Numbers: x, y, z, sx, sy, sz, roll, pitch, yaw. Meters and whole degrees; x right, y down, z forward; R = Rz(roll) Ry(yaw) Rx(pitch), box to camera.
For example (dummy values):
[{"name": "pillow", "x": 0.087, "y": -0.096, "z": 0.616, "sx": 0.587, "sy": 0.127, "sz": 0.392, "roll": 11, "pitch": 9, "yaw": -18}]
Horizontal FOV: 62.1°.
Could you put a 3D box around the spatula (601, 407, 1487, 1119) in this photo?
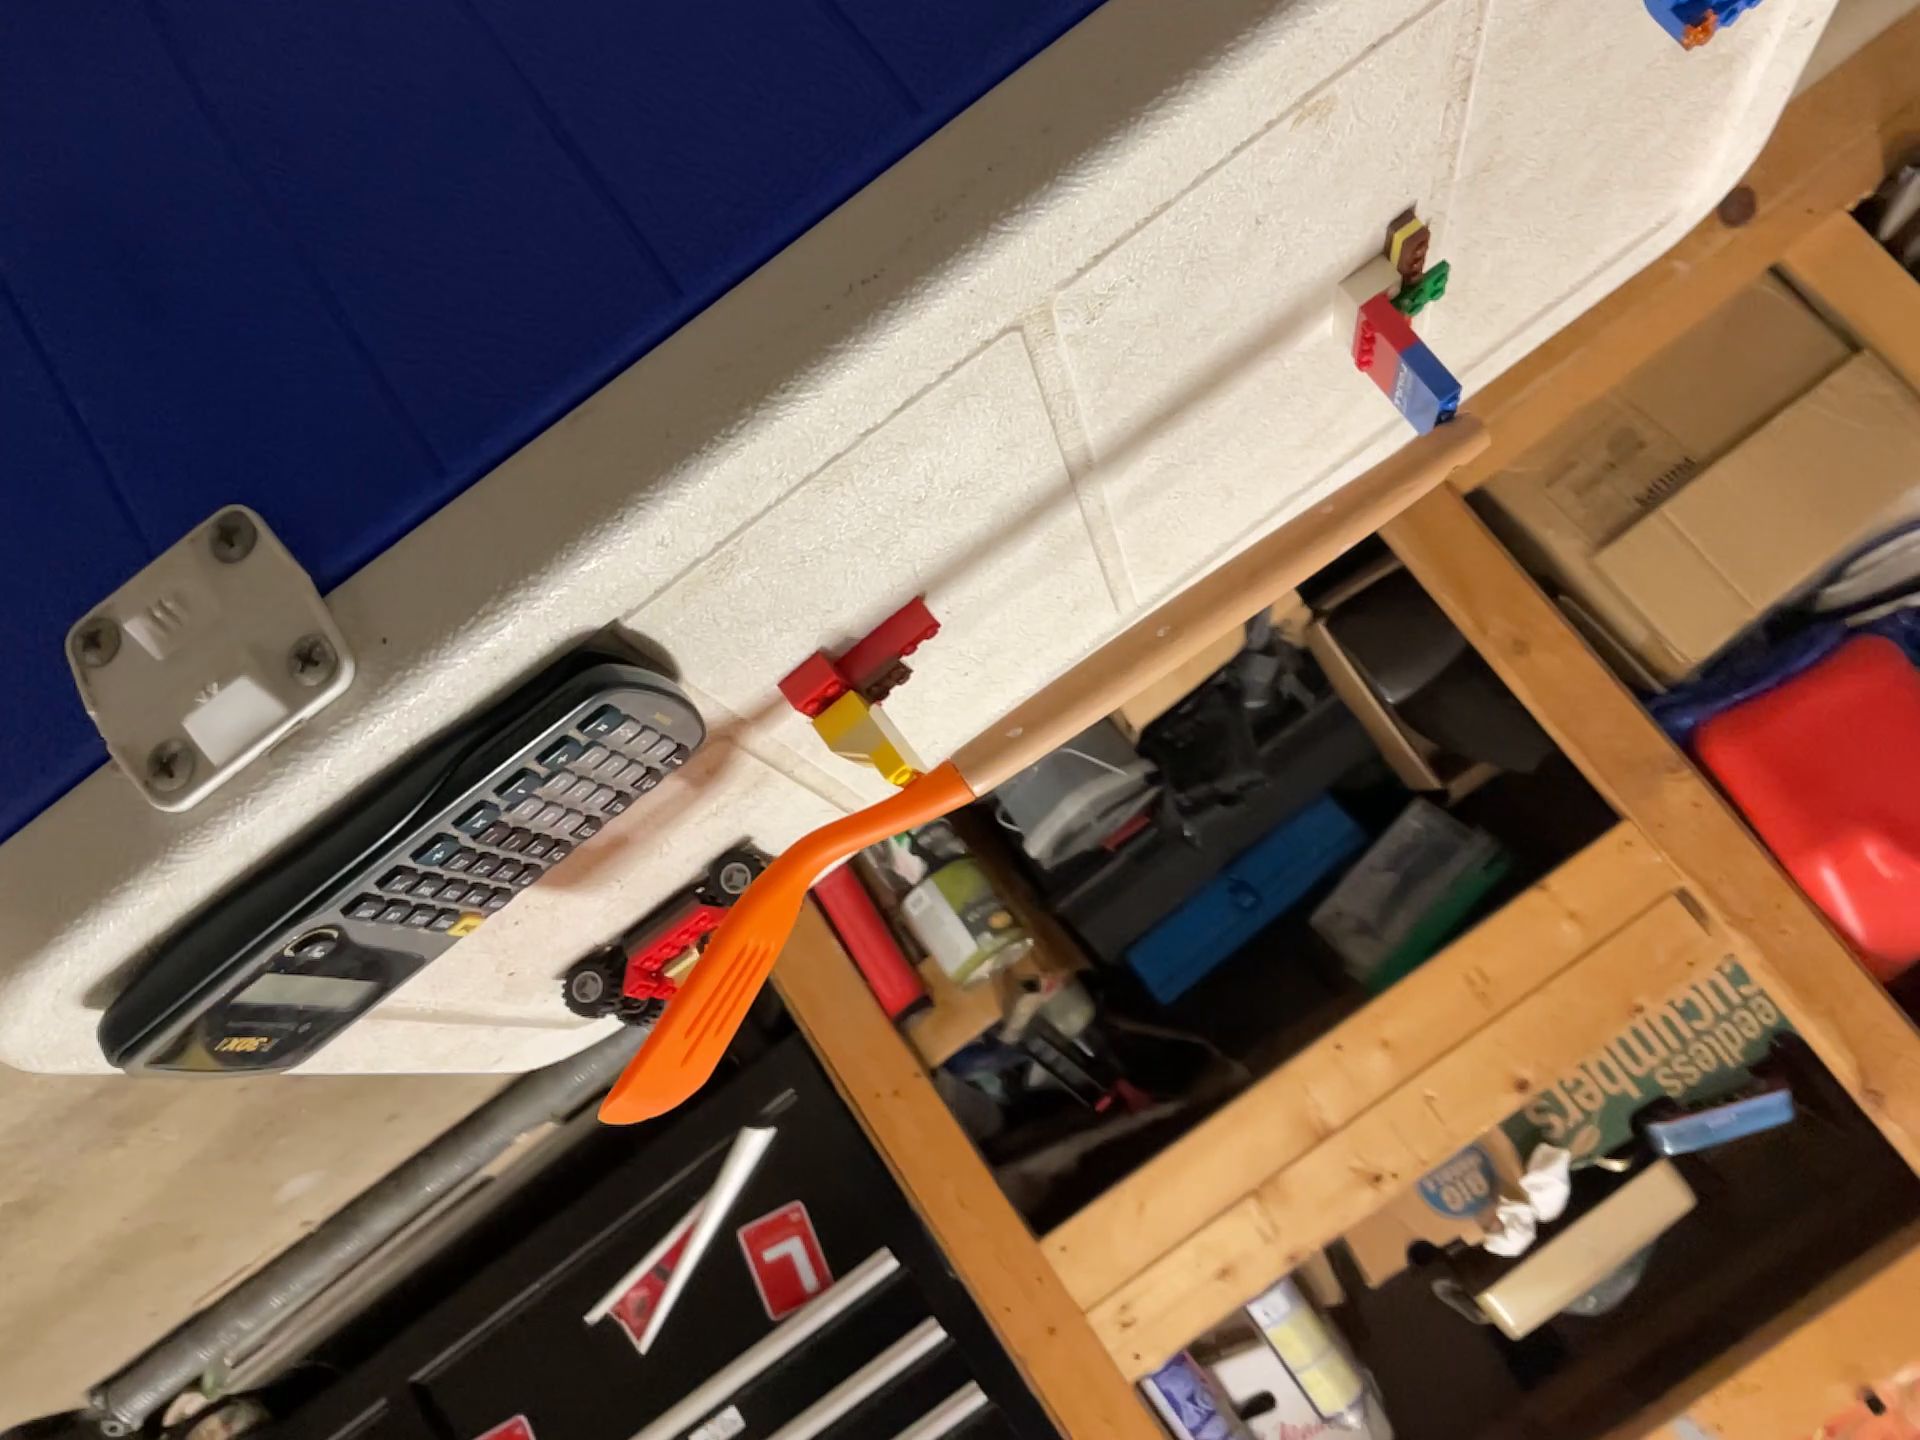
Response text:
[{"name": "spatula", "x": 0.026, "y": 0.009, "z": 0.475, "sx": 0.322, "sy": 0.041, "sz": 0.081, "roll": -35, "pitch": 167, "yaw": 0}]
